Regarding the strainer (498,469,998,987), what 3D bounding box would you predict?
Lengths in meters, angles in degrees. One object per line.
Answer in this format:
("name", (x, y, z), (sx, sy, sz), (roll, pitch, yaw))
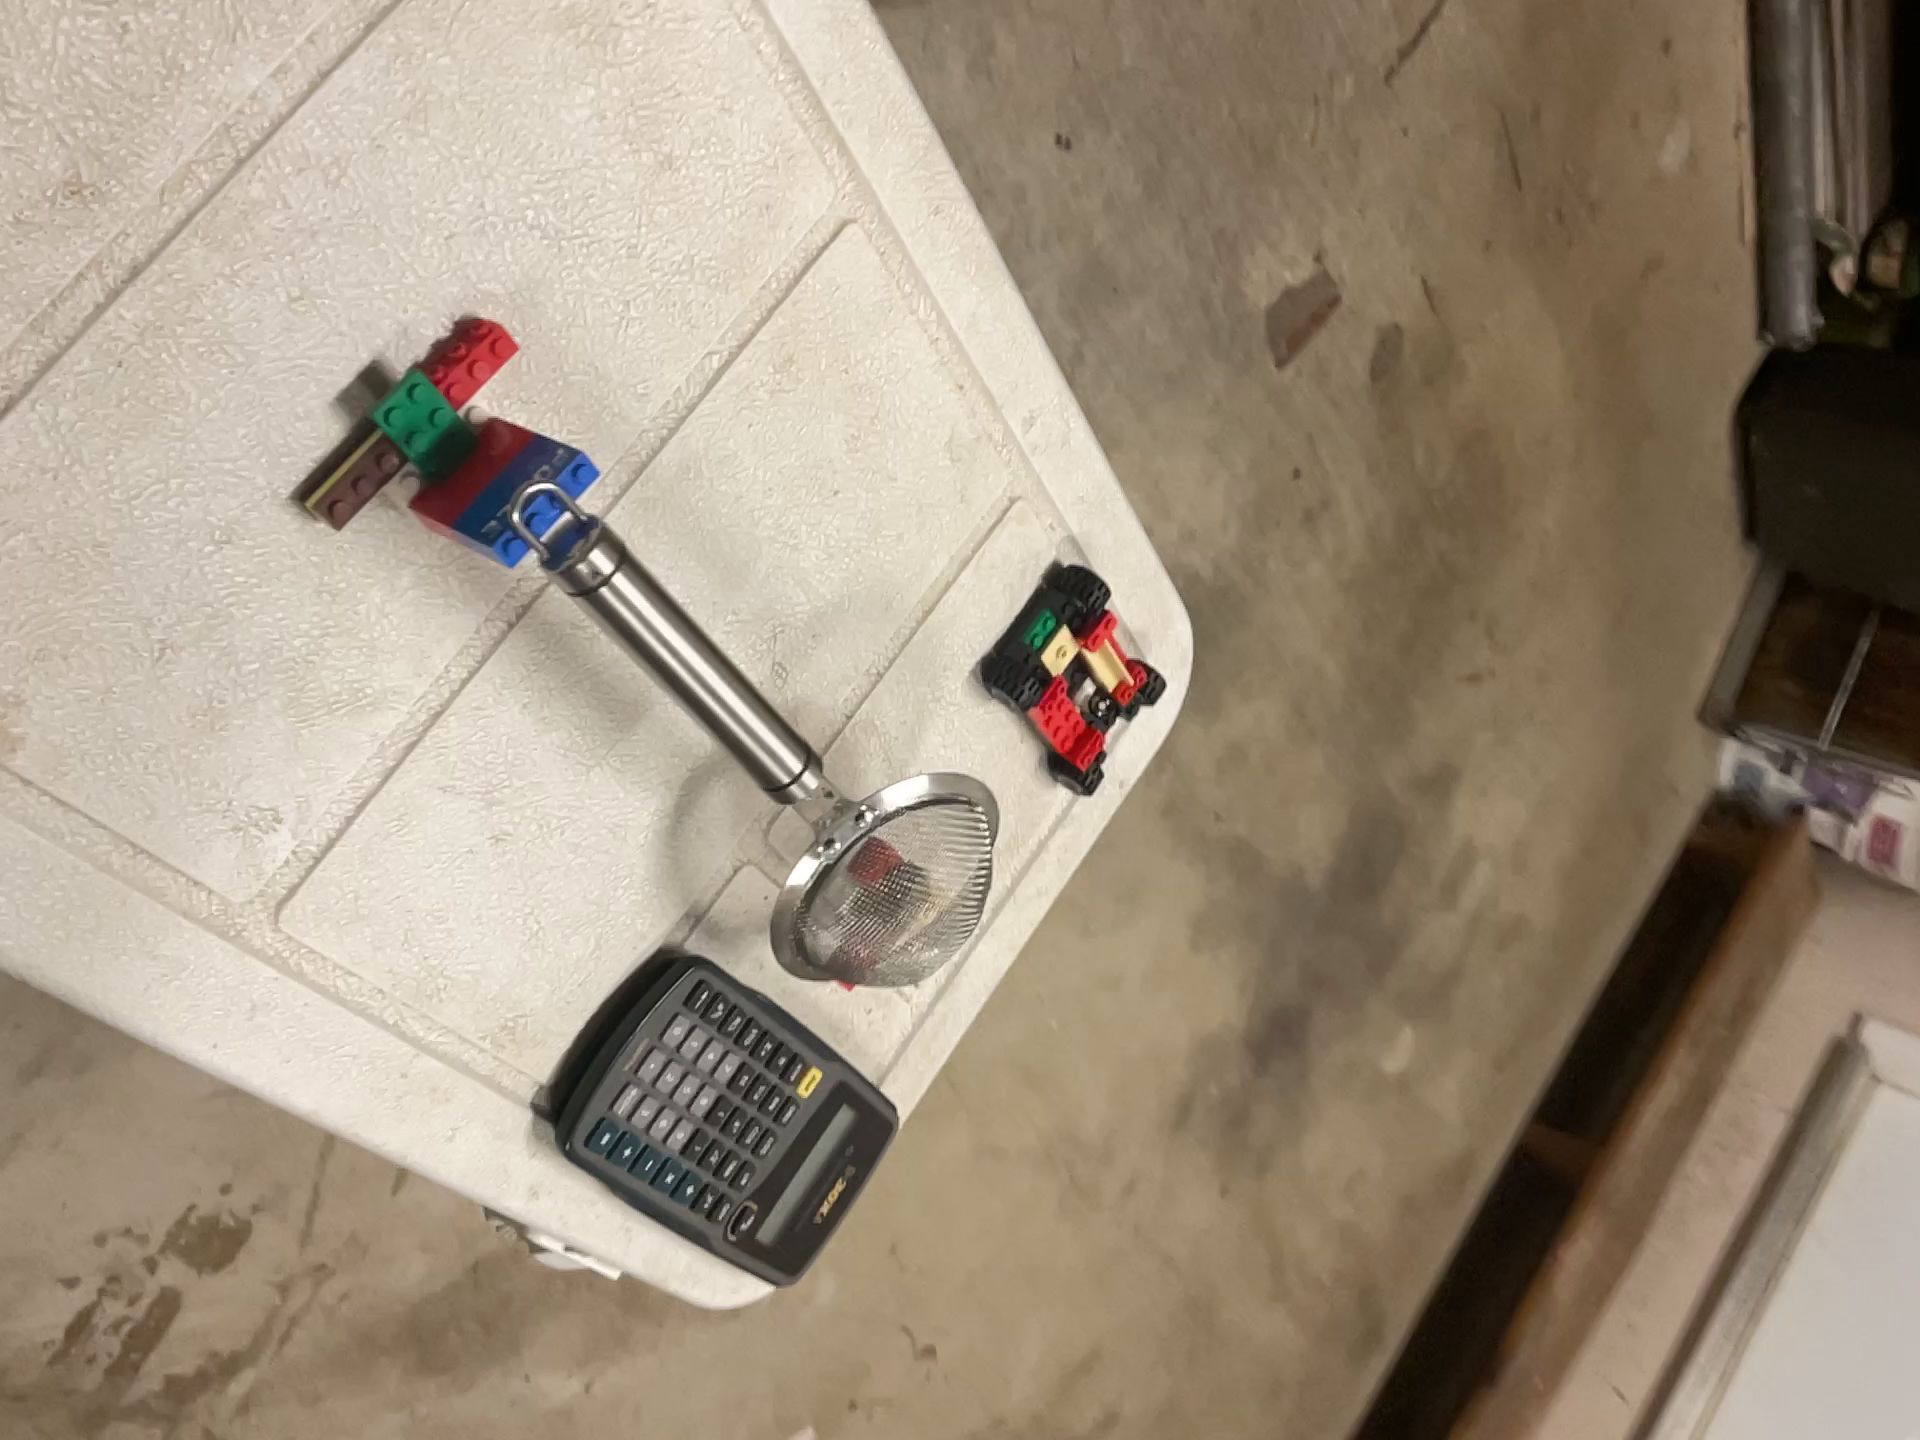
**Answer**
("strainer", (-0.047, 0.019, 0.451), (0.087, 0.050, 0.258), (-41, 136, -4))
